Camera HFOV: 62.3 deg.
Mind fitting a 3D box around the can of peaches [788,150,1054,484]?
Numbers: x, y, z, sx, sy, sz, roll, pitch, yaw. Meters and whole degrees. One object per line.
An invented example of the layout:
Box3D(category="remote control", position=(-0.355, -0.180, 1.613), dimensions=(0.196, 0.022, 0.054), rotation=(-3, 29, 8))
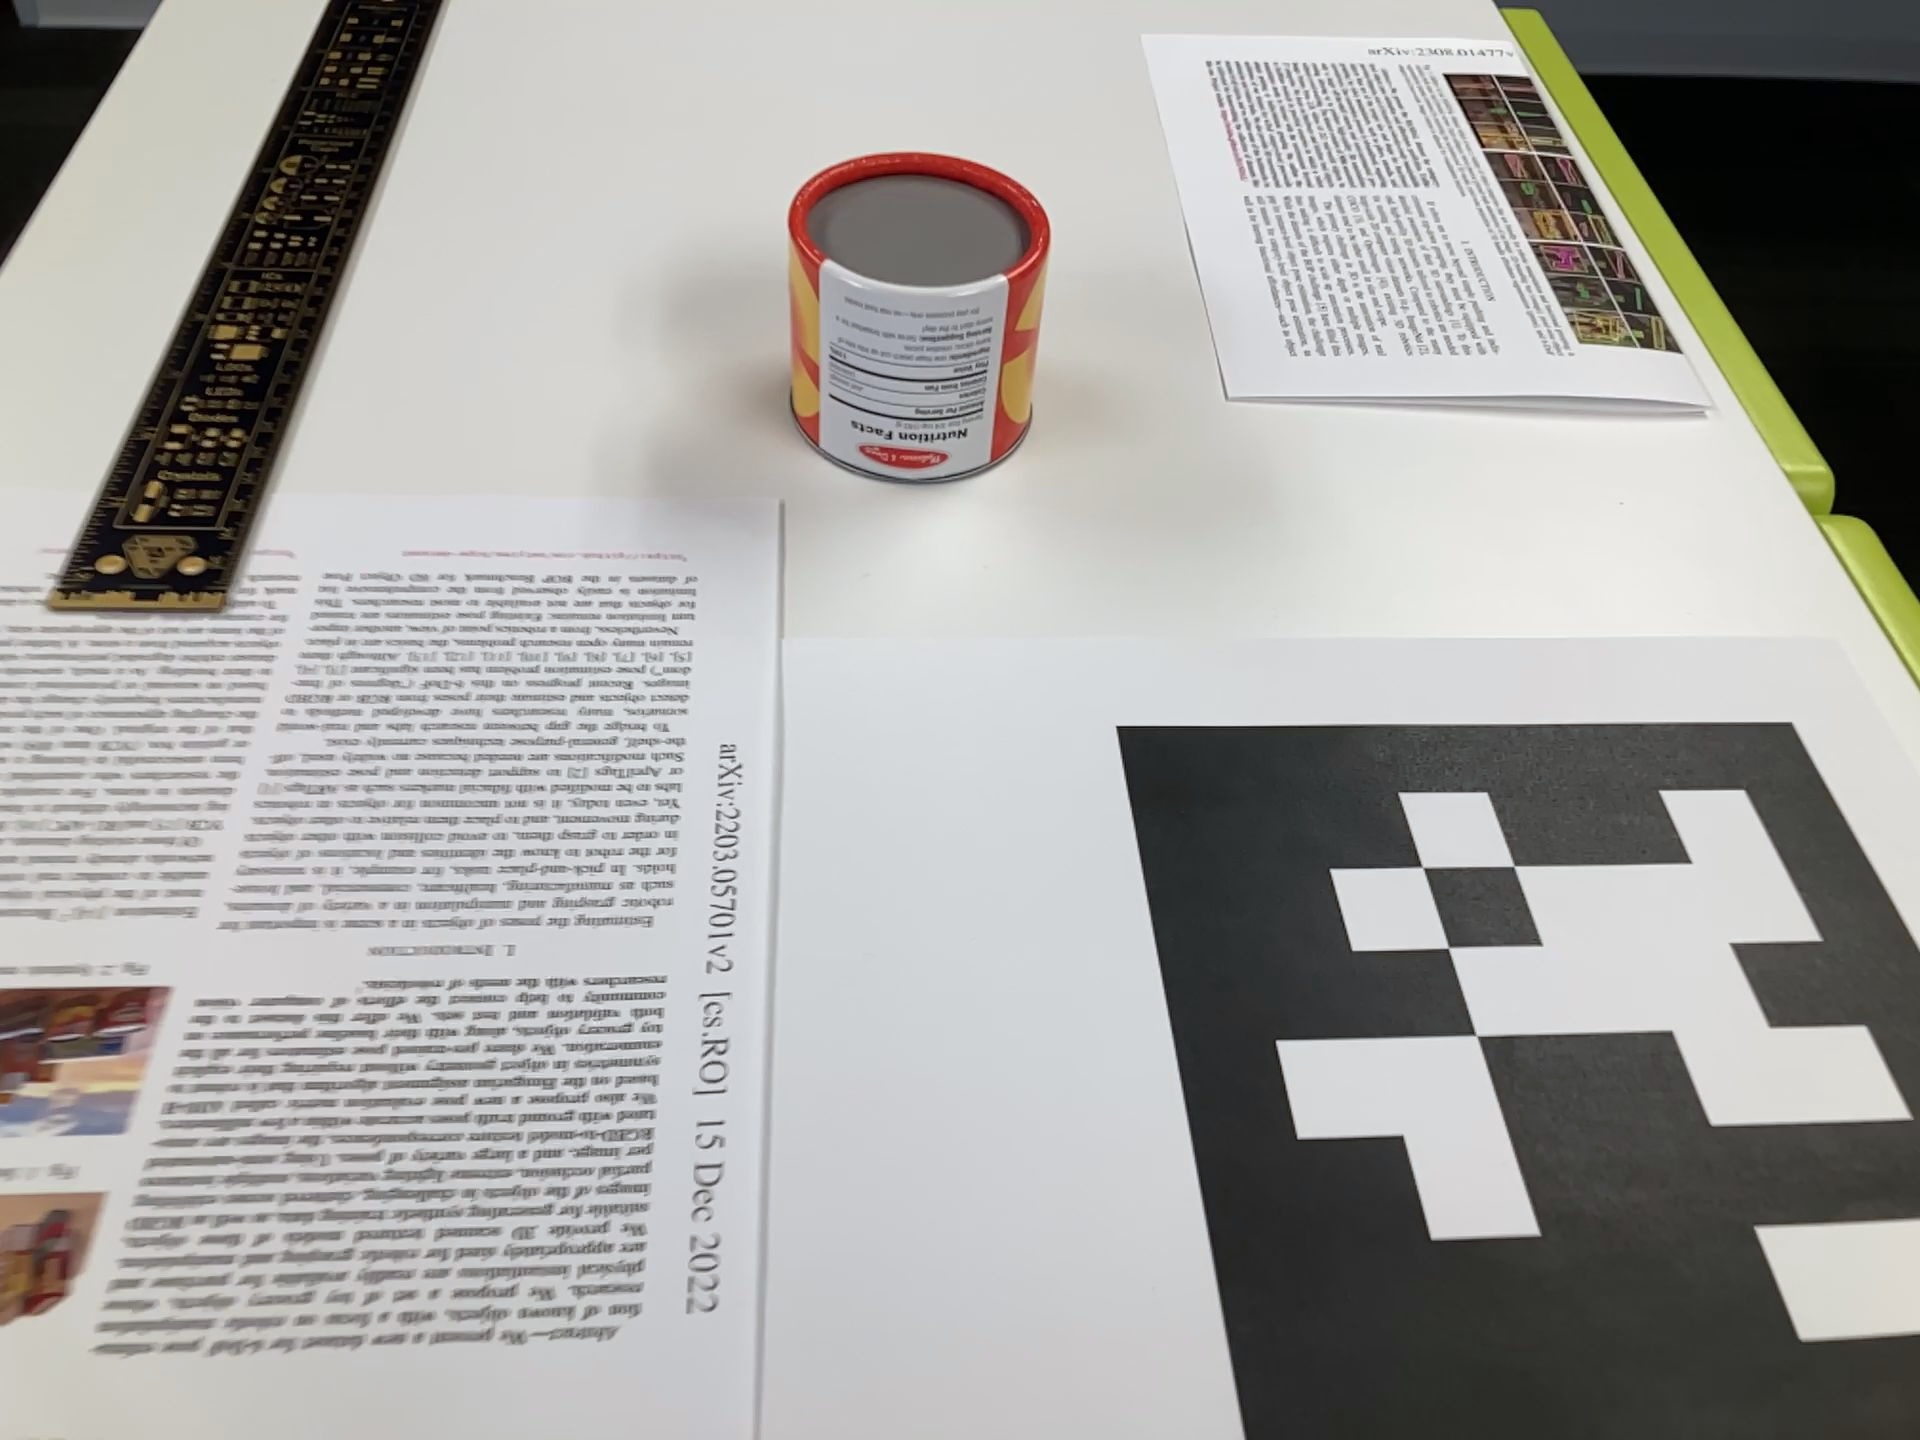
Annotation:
Box3D(category="can of peaches", position=(-0.011, -0.106, 0.409), dimensions=(0.071, 0.058, 0.071), rotation=(2, 49, -2))
